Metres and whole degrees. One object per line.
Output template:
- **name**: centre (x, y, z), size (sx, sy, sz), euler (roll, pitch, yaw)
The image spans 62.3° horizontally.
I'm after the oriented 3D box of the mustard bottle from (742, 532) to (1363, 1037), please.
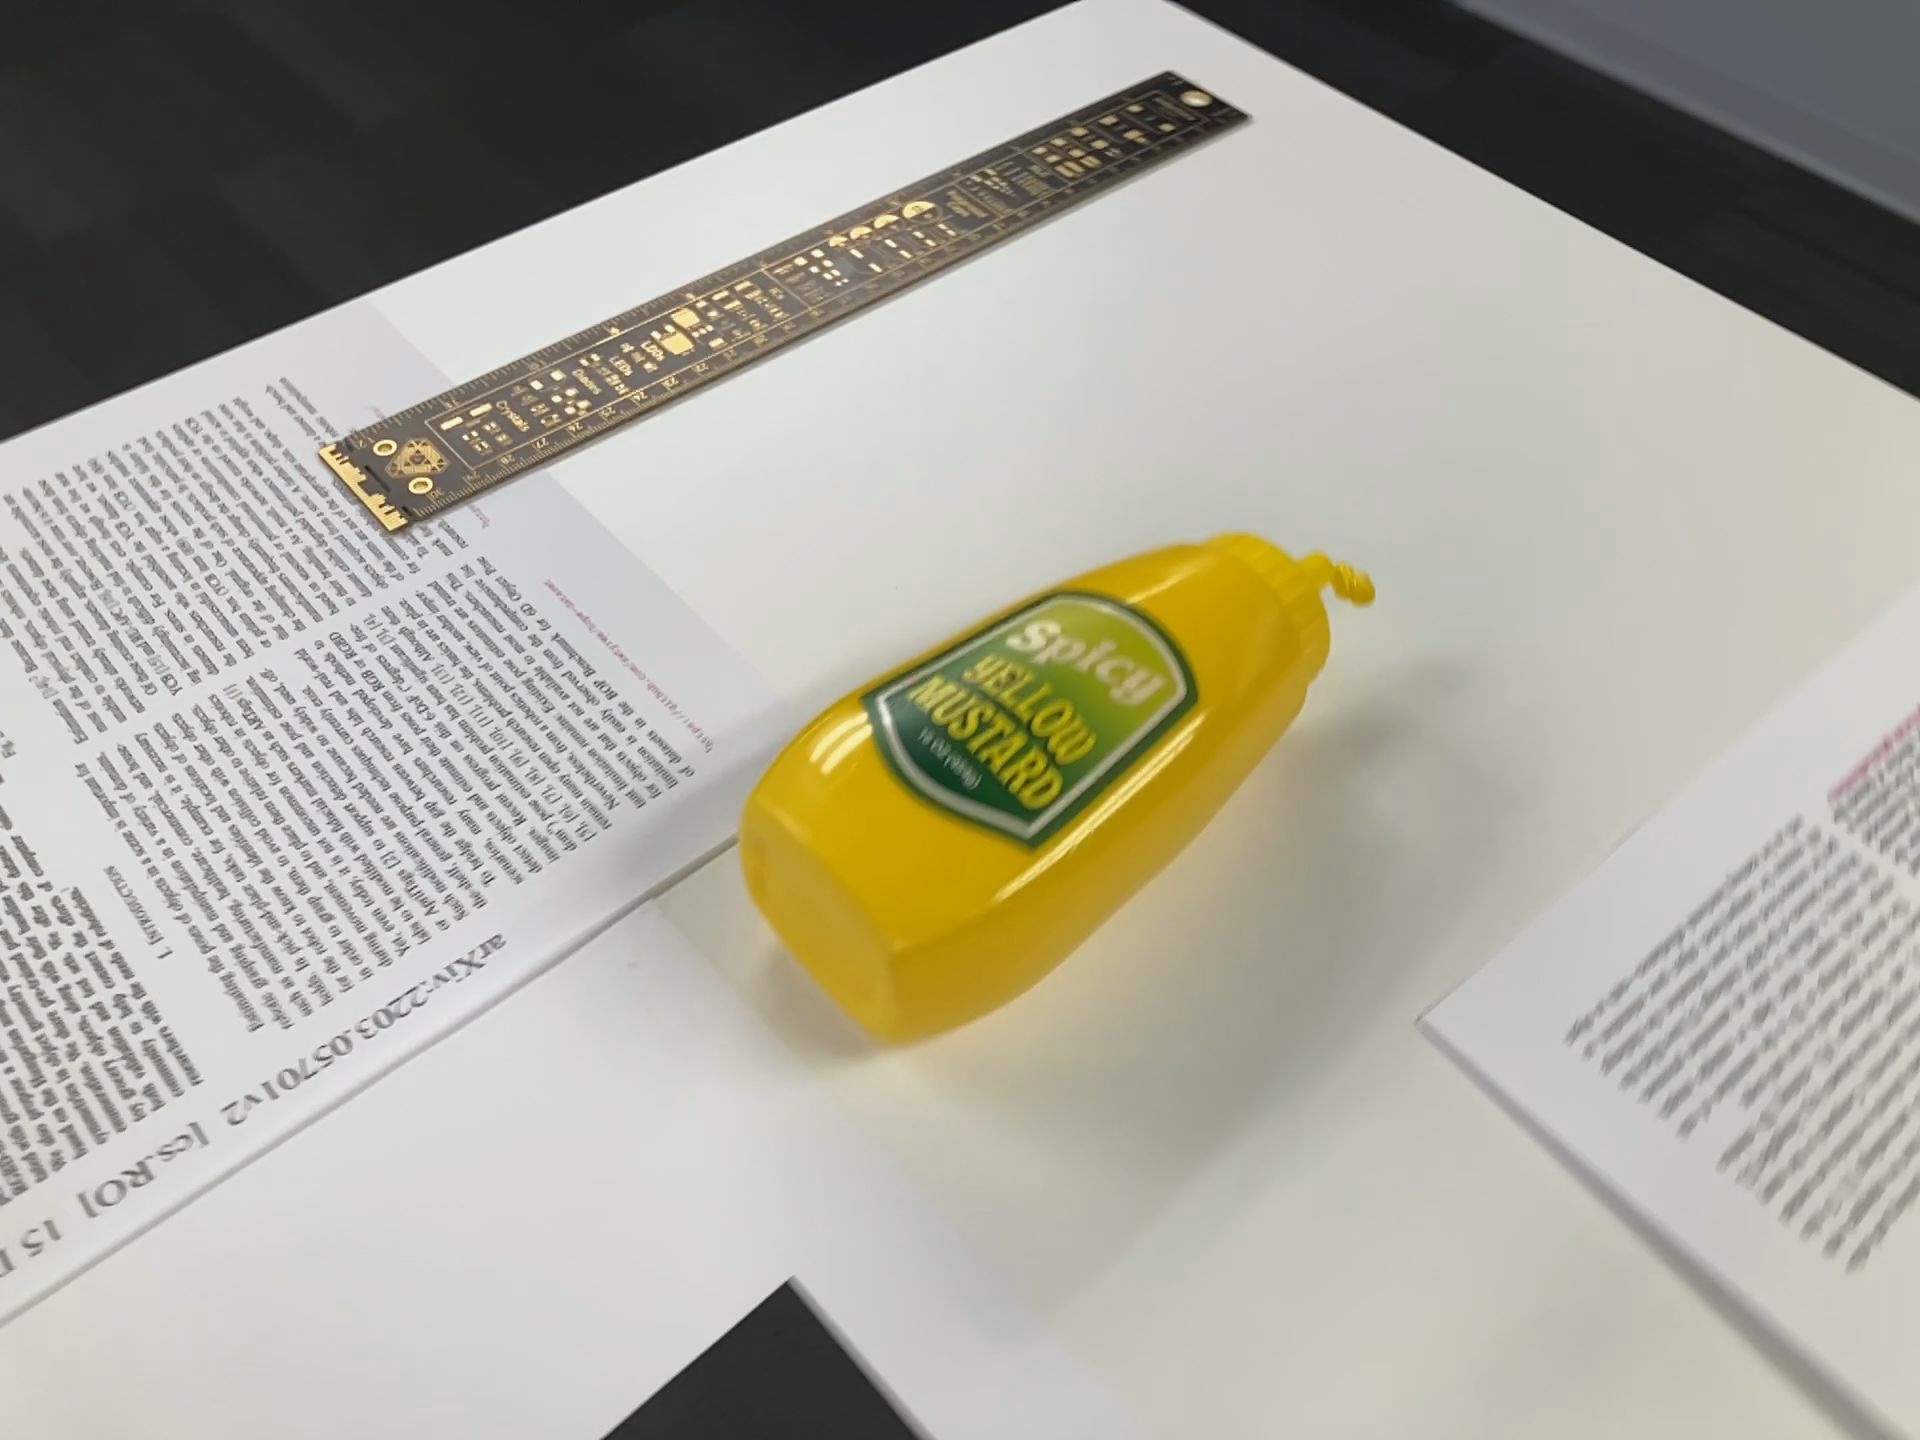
- **mustard bottle**: centre (0.032, -0.002, 0.332), size (0.160, 0.049, 0.065), euler (-34, 61, -28)
